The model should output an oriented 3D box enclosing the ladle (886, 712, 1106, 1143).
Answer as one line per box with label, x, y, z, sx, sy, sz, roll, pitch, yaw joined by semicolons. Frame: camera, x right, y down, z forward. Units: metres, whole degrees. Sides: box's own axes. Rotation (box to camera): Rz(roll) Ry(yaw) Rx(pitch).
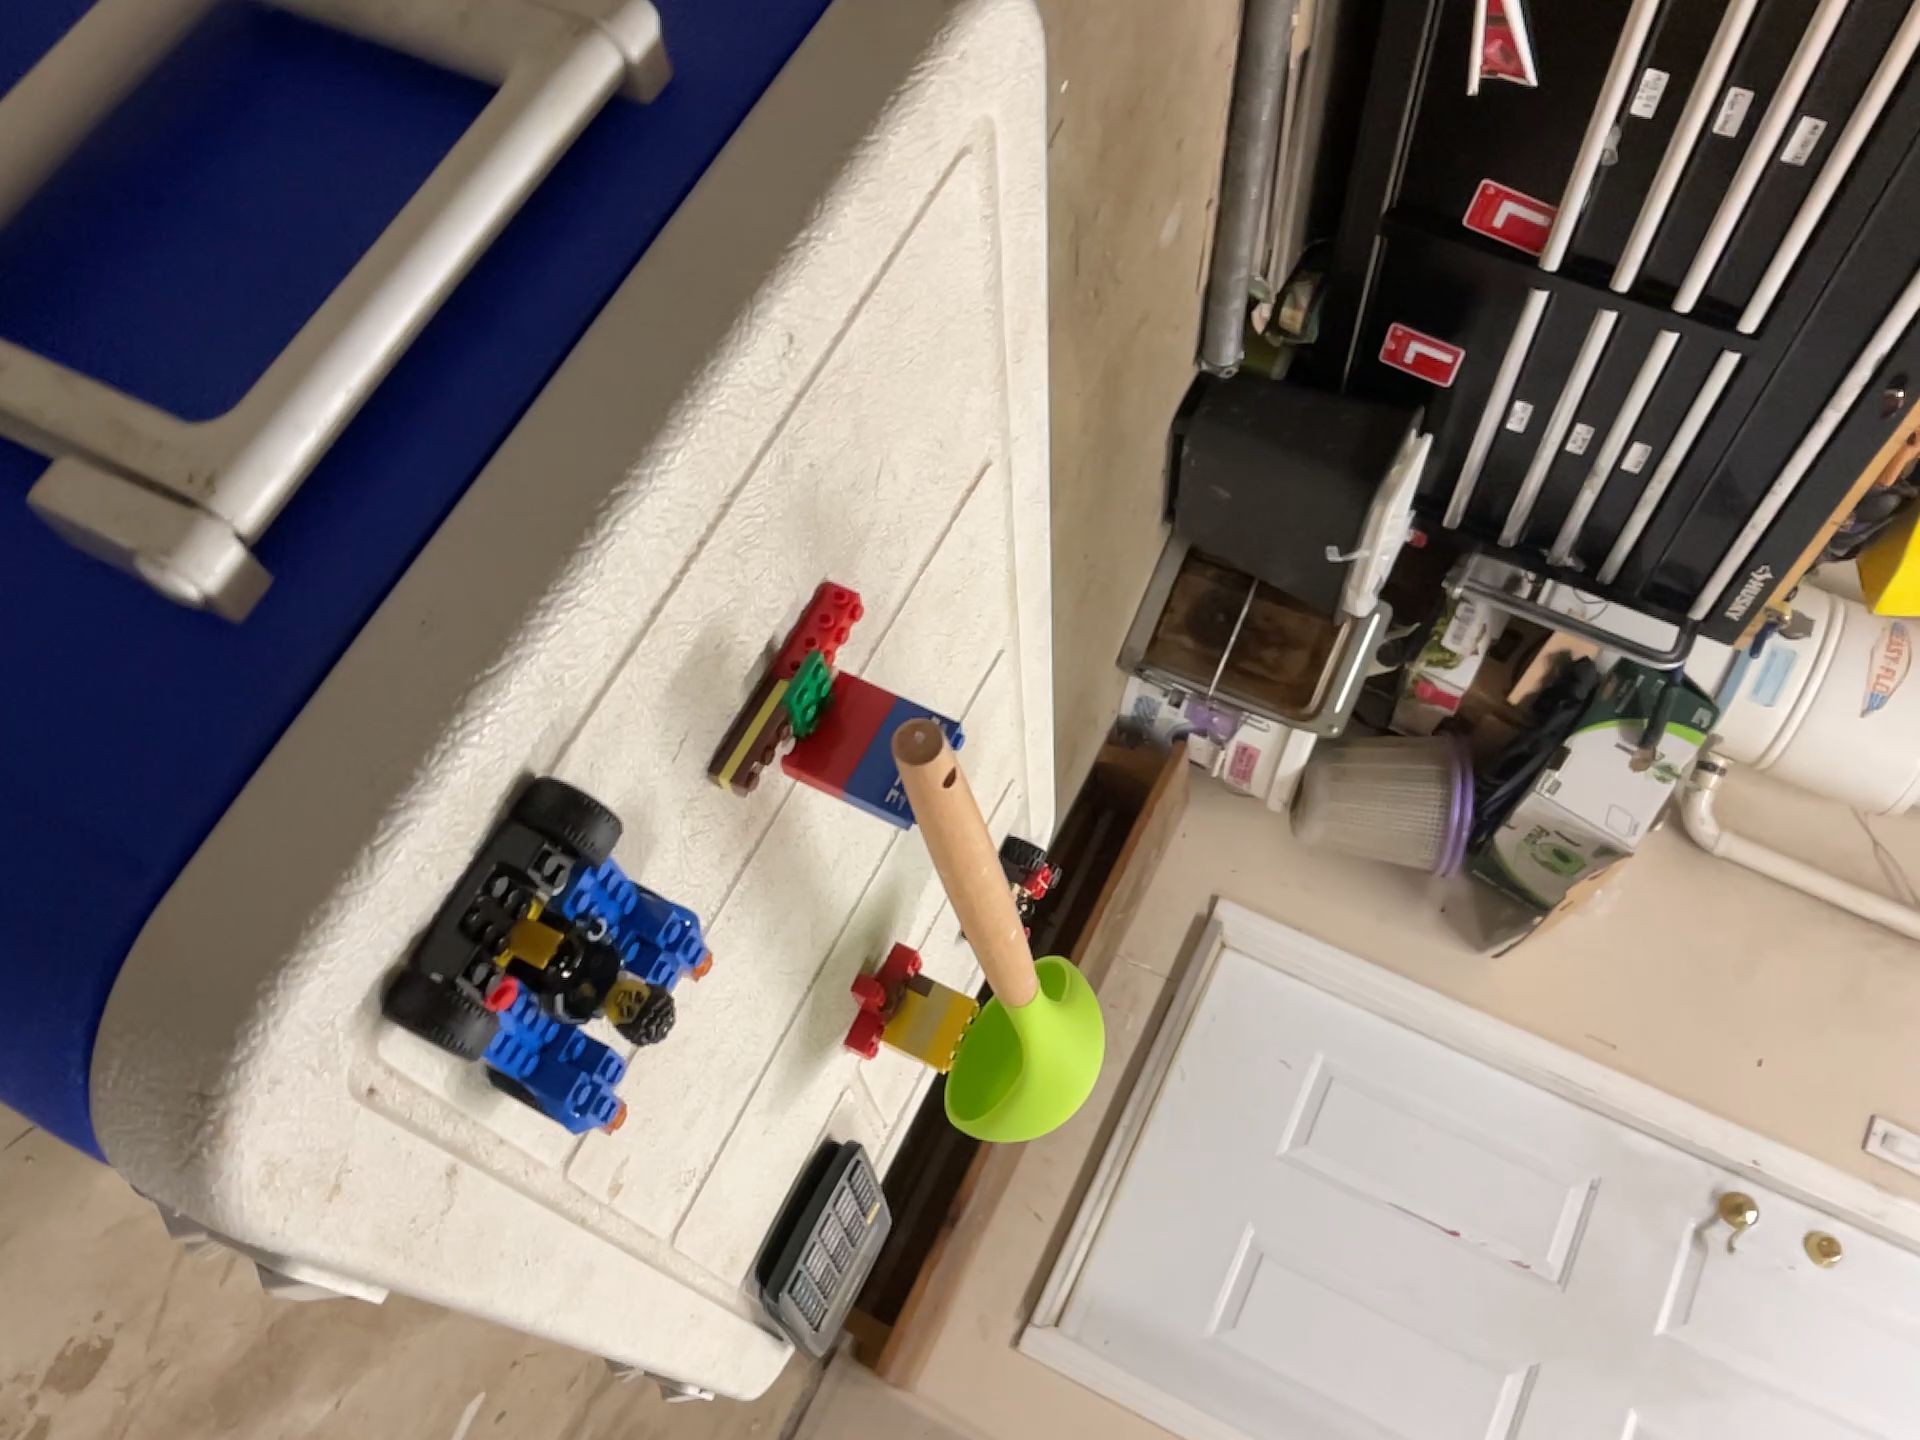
ladle;0.005;0.072;0.519;0.078;0.062;0.320;-55;156;-18
